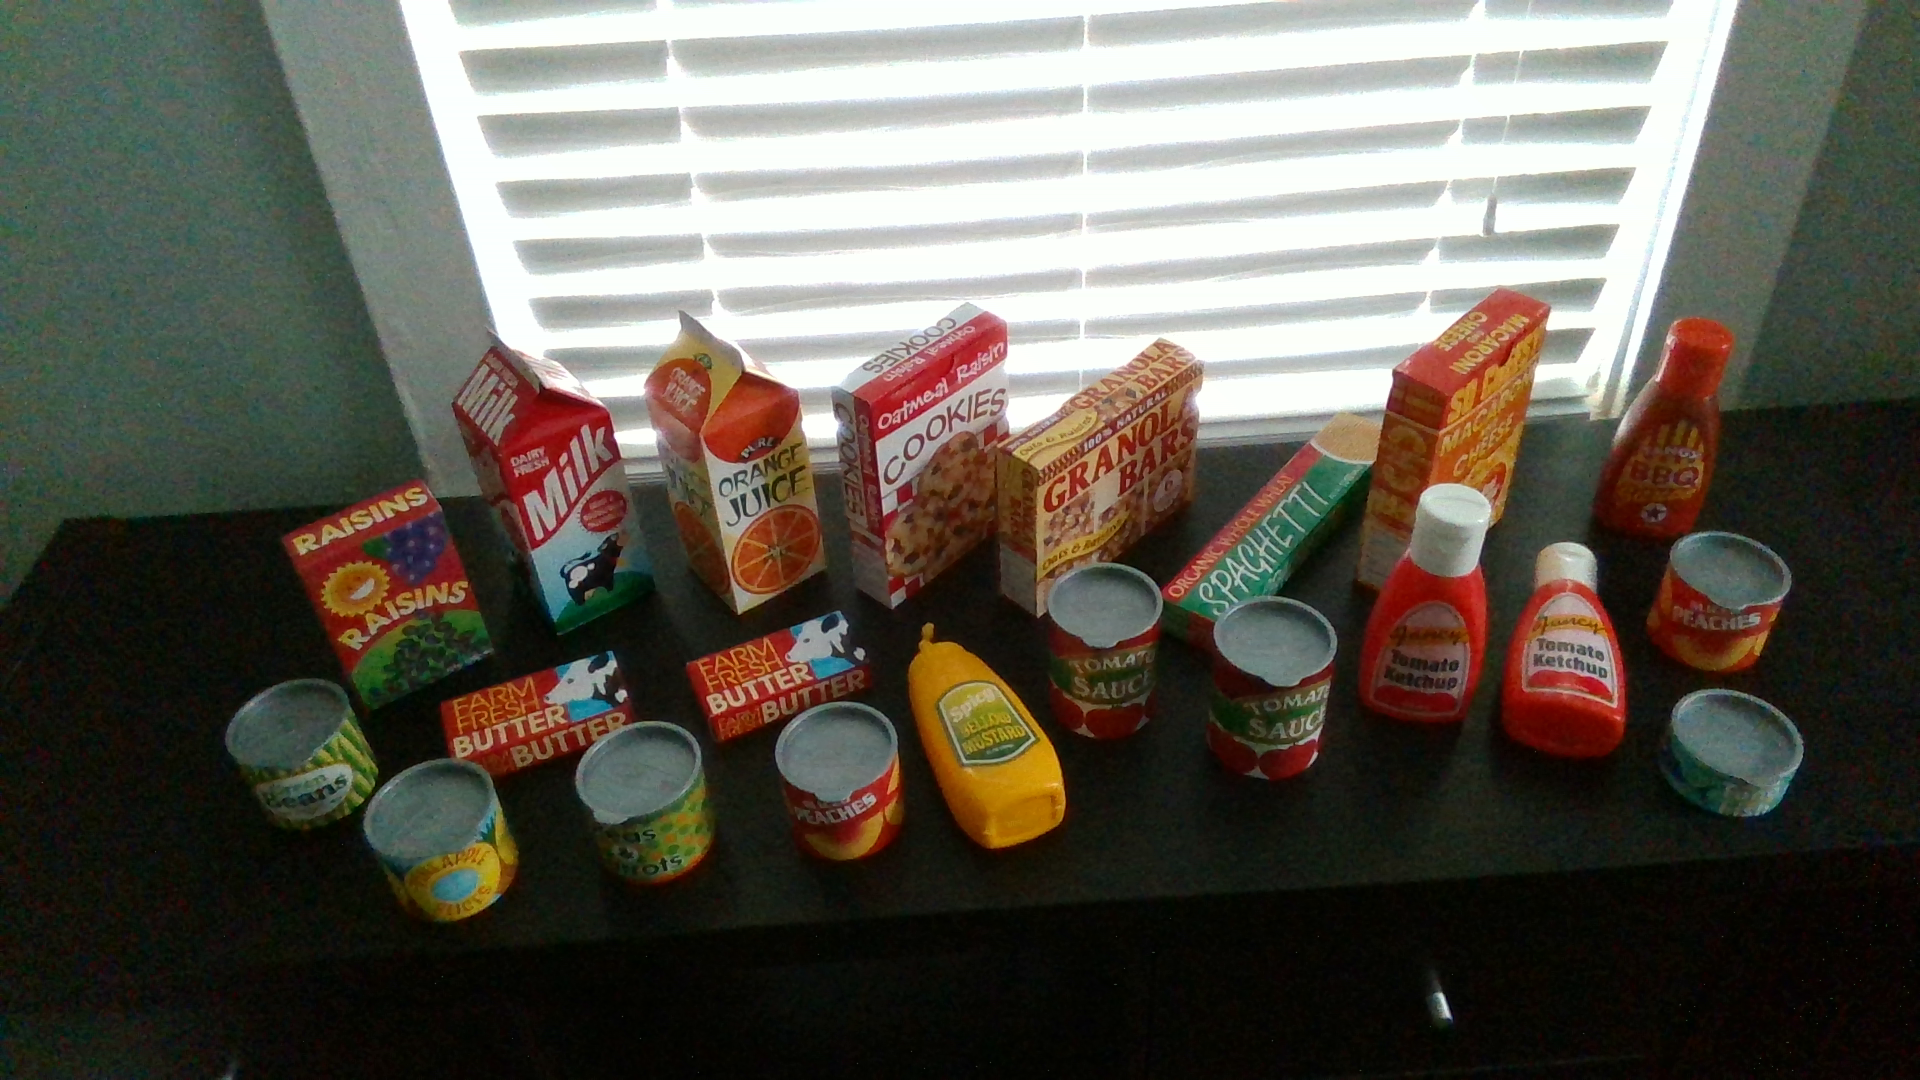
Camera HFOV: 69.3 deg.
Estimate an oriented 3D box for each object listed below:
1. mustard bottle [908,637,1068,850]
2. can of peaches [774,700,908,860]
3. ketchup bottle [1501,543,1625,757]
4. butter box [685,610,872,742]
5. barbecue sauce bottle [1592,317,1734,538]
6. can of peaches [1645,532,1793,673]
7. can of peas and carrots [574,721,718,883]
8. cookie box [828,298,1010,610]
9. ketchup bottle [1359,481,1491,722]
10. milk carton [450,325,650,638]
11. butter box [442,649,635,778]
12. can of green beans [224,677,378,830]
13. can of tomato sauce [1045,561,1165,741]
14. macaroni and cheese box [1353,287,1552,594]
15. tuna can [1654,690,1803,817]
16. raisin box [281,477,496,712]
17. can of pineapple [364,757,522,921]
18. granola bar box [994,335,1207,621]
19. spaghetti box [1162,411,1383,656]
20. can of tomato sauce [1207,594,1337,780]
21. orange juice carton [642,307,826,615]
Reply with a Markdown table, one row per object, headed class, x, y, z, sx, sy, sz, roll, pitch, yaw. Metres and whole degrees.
| class | x | y | z | sx | sy | sz | roll | pitch | yaw |
| --- | --- | --- | --- | --- | --- | --- | --- | --- | --- |
| mustard bottle | 0.004 | 0.103 | 0.791 | 0.065 | 0.048 | 0.161 | -16 | 40 | -17 |
| can of peaches | -0.064 | 0.132 | 0.751 | 0.071 | 0.057 | 0.071 | -4 | 40 | 3 |
| ketchup bottle | 0.358 | 0.061 | 0.824 | 0.065 | 0.043 | 0.150 | 11 | 41 | 16 |
| butter box | -0.110 | 0.082 | 0.846 | 0.104 | 0.024 | 0.053 | -19 | 41 | -18 |
| barbecue sauce bottle | 0.454 | -0.071 | 0.889 | 0.065 | 0.147 | 0.044 | 7 | 41 | 12 |
| can of peaches | 0.452 | 0.039 | 0.832 | 0.071 | 0.057 | 0.071 | -1 | 40 | 1 |
| can of peas and carrots | -0.168 | 0.143 | 0.746 | 0.071 | 0.058 | 0.071 | -3 | 39 | 3 |
| cookie box | -0.020 | -0.054 | 0.888 | 0.040 | 0.166 | 0.123 | 29 | 50 | 31 |
| ketchup bottle | 0.264 | 0.036 | 0.777 | 0.065 | 0.148 | 0.044 | 8 | 40 | 14 |
| milk carton | -0.258 | -0.040 | 0.868 | 0.074 | 0.189 | 0.072 | -29 | 46 | -28 |
| butter box | -0.250 | 0.104 | 0.824 | 0.104 | 0.024 | 0.053 | -18 | 41 | -17 |
| can of green beans | -0.373 | 0.122 | 0.790 | 0.071 | 0.057 | 0.071 | -2 | 40 | 2 |
| can of tomato sauce | 0.083 | 0.066 | 0.799 | 0.071 | 0.082 | 0.071 | -2 | 39 | 1 |
| macaroni and cheese box | 0.308 | -0.058 | 0.872 | 0.124 | 0.165 | 0.040 | -35 | 50 | -30 |
| tuna can | 0.419 | 0.118 | 0.758 | 0.071 | 0.032 | 0.071 | -1 | 39 | 1 |
| raisin box | -0.341 | 0.034 | 0.838 | 0.086 | 0.122 | 0.040 | -26 | 46 | -24 |
| can of pineapple | -0.272 | 0.160 | 0.736 | 0.071 | 0.057 | 0.071 | -3 | 40 | 3 |
| granola bar box | 0.090 | -0.042 | 0.896 | 0.039 | 0.123 | 0.166 | 31 | 50 | 32 |
| spaghetti box | 0.216 | -0.010 | 0.927 | 0.050 | 0.028 | 0.251 | 25 | 48 | 30 |
| can of tomato sauce | 0.173 | 0.084 | 0.775 | 0.071 | 0.082 | 0.071 | -3 | 40 | 3 |
| orange juice carton | -0.142 | -0.053 | 0.878 | 0.073 | 0.191 | 0.072 | -29 | 48 | -26 |
